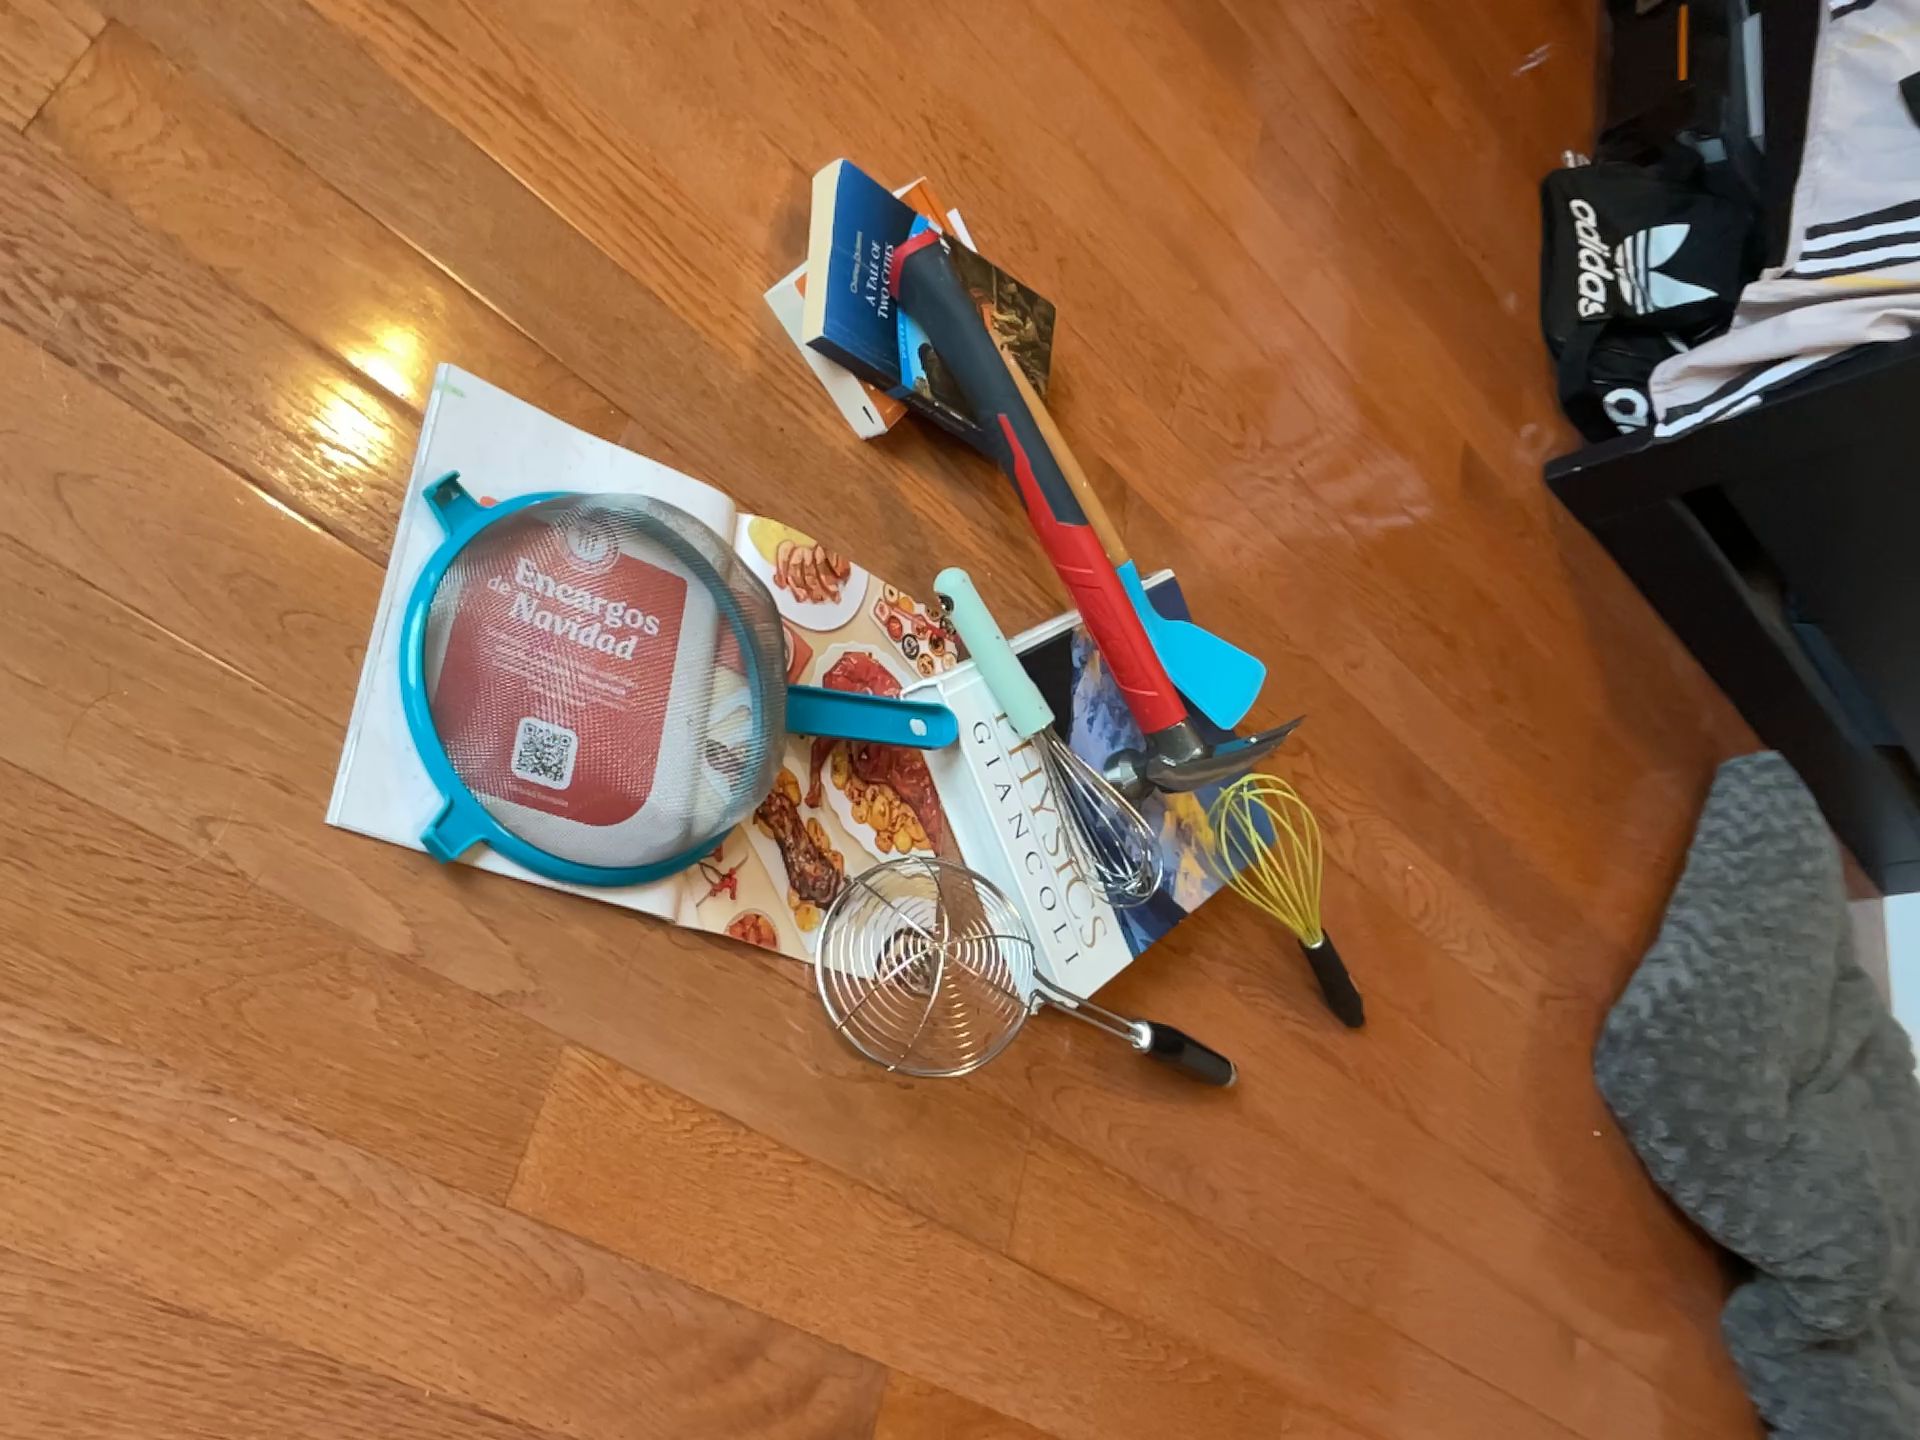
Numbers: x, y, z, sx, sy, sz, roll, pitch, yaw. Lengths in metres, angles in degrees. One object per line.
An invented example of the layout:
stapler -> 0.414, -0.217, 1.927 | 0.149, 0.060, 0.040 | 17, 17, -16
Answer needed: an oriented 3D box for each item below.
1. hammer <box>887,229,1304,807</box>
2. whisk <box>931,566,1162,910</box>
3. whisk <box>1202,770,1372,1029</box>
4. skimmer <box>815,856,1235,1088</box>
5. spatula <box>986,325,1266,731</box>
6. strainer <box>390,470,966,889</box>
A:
hammer -> 0.072, -0.132, 0.996 | 0.038, 0.143, 0.386 | -37, 101, -49
whisk -> 0.052, 0.011, 0.992 | 0.059, 0.057, 0.246 | -33, 98, -15
whisk -> 0.250, 0.145, 1.168 | 0.311, 0.067, 0.080 | 54, 28, -39
skimmer -> 0.057, 0.186, 1.001 | 0.363, 0.090, 0.127 | 33, 52, -48
spatula -> 0.105, -0.134, 1.088 | 0.317, 0.044, 0.082 | 56, 47, -17
strainer -> -0.113, -0.021, 0.830 | 0.340, 0.095, 0.211 | 7, 71, -38
